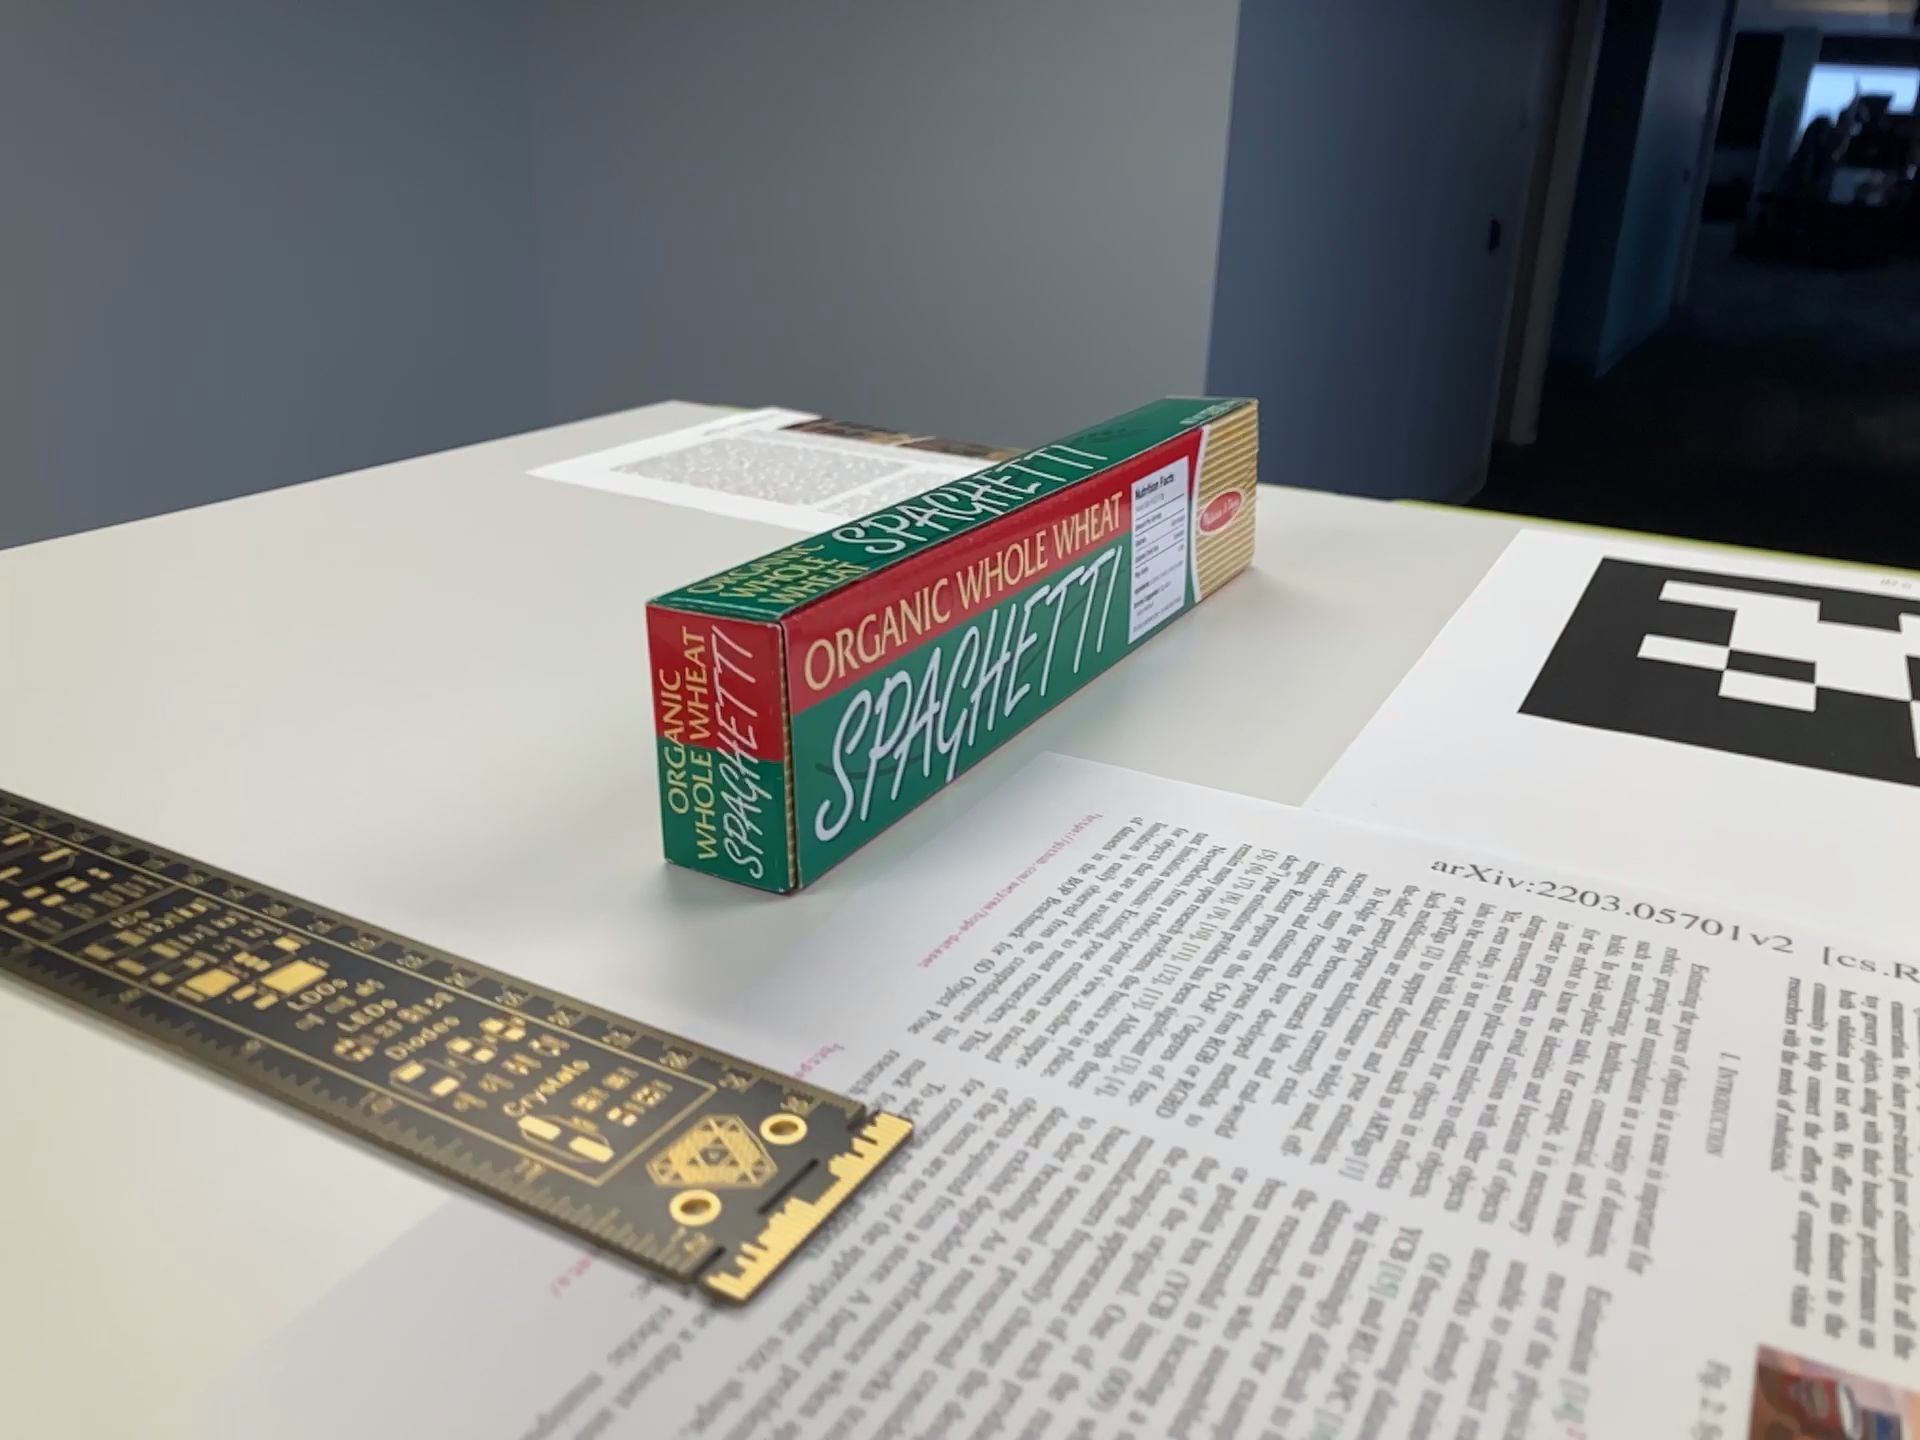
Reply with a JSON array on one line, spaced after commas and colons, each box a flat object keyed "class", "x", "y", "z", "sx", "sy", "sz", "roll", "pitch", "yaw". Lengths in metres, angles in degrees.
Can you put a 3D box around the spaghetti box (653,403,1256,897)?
[{"class": "spaghetti box", "x": 0.017, "y": -0.032, "z": 0.368, "sx": 0.028, "sy": 0.050, "sz": 0.250, "roll": 8, "pitch": 22, "yaw": 27}]
